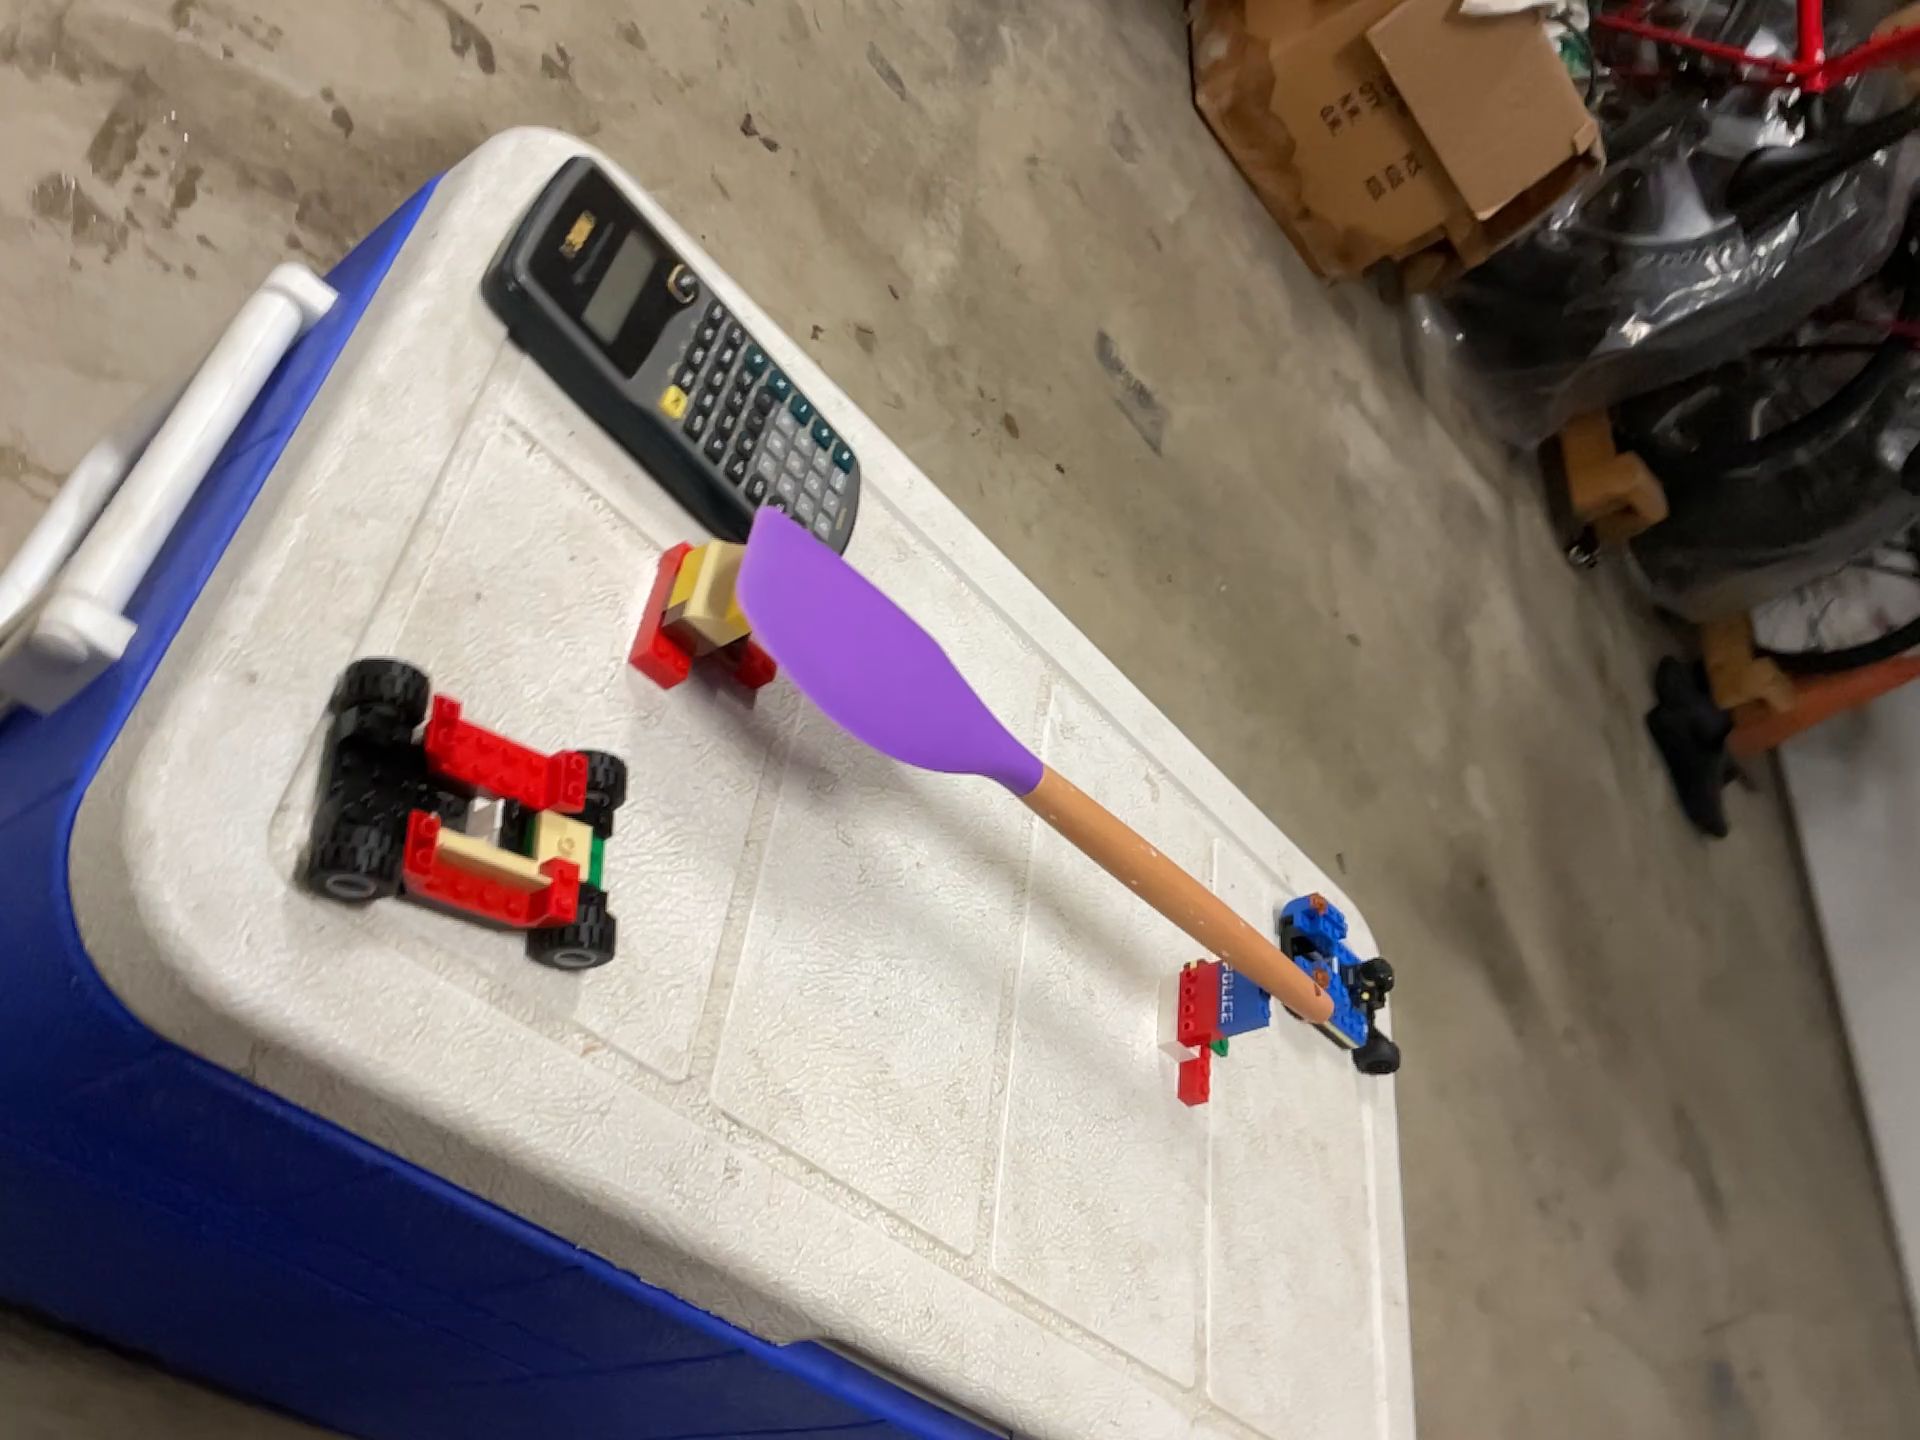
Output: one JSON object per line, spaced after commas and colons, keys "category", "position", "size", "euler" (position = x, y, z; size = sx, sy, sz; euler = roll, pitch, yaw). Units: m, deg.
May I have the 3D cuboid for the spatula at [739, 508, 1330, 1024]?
{"category": "spatula", "position": [0.040, 0.036, 0.554], "size": [0.316, 0.018, 0.060], "euler": [38, 42, -33]}
